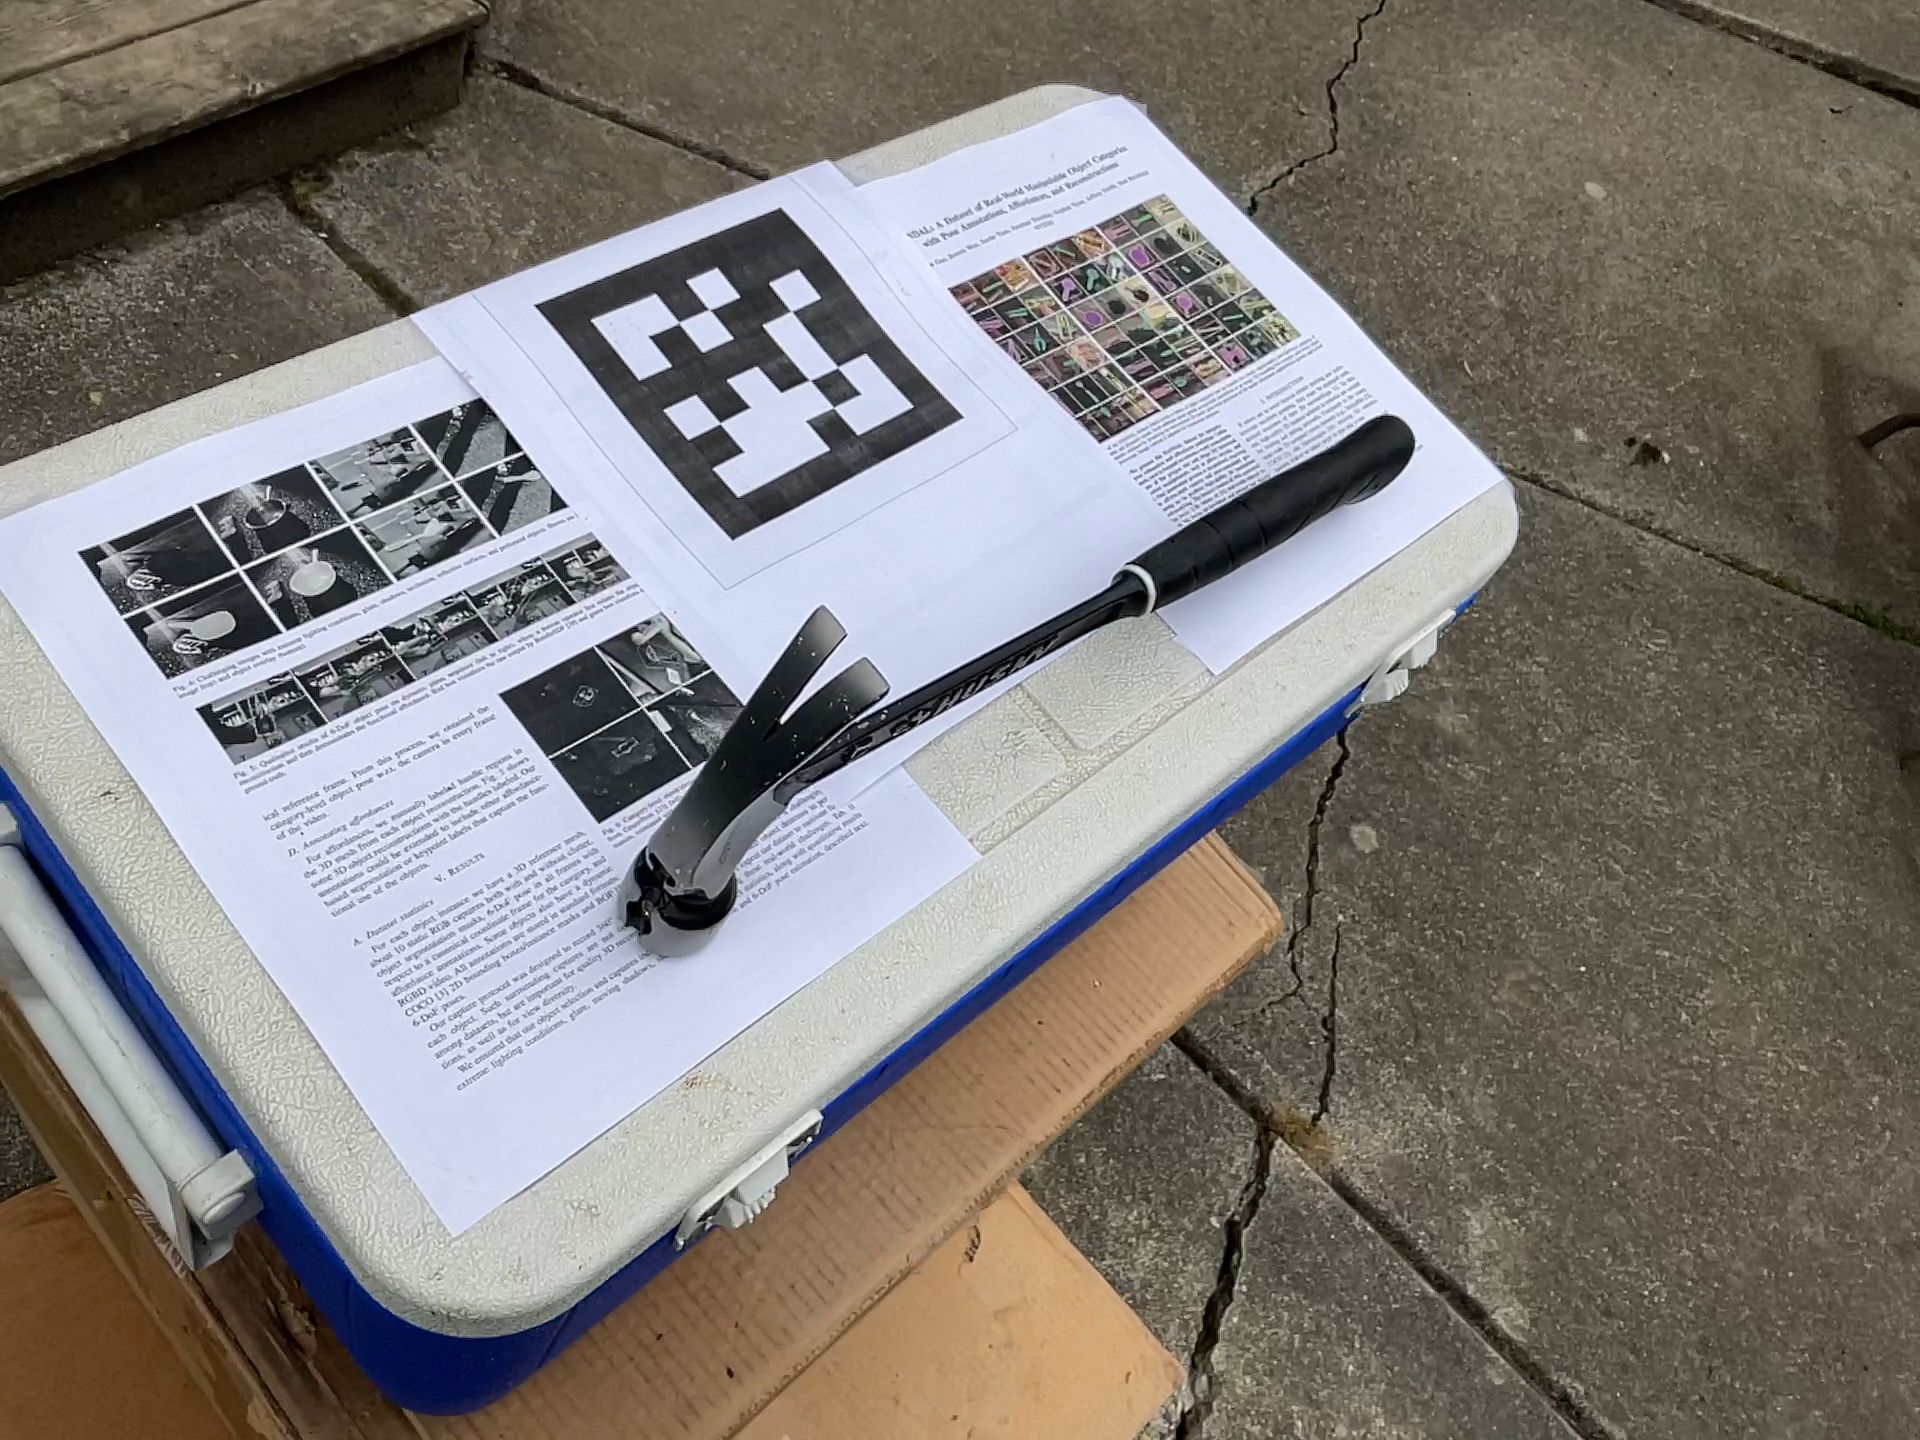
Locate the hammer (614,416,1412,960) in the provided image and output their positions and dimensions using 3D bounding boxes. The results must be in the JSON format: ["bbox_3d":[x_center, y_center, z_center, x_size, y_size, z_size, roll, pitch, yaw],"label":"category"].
[{"bbox_3d":[0.055,-0.046,0.594,0.409,0.149,0.036,-30,75,-39],"label":"hammer"}]
